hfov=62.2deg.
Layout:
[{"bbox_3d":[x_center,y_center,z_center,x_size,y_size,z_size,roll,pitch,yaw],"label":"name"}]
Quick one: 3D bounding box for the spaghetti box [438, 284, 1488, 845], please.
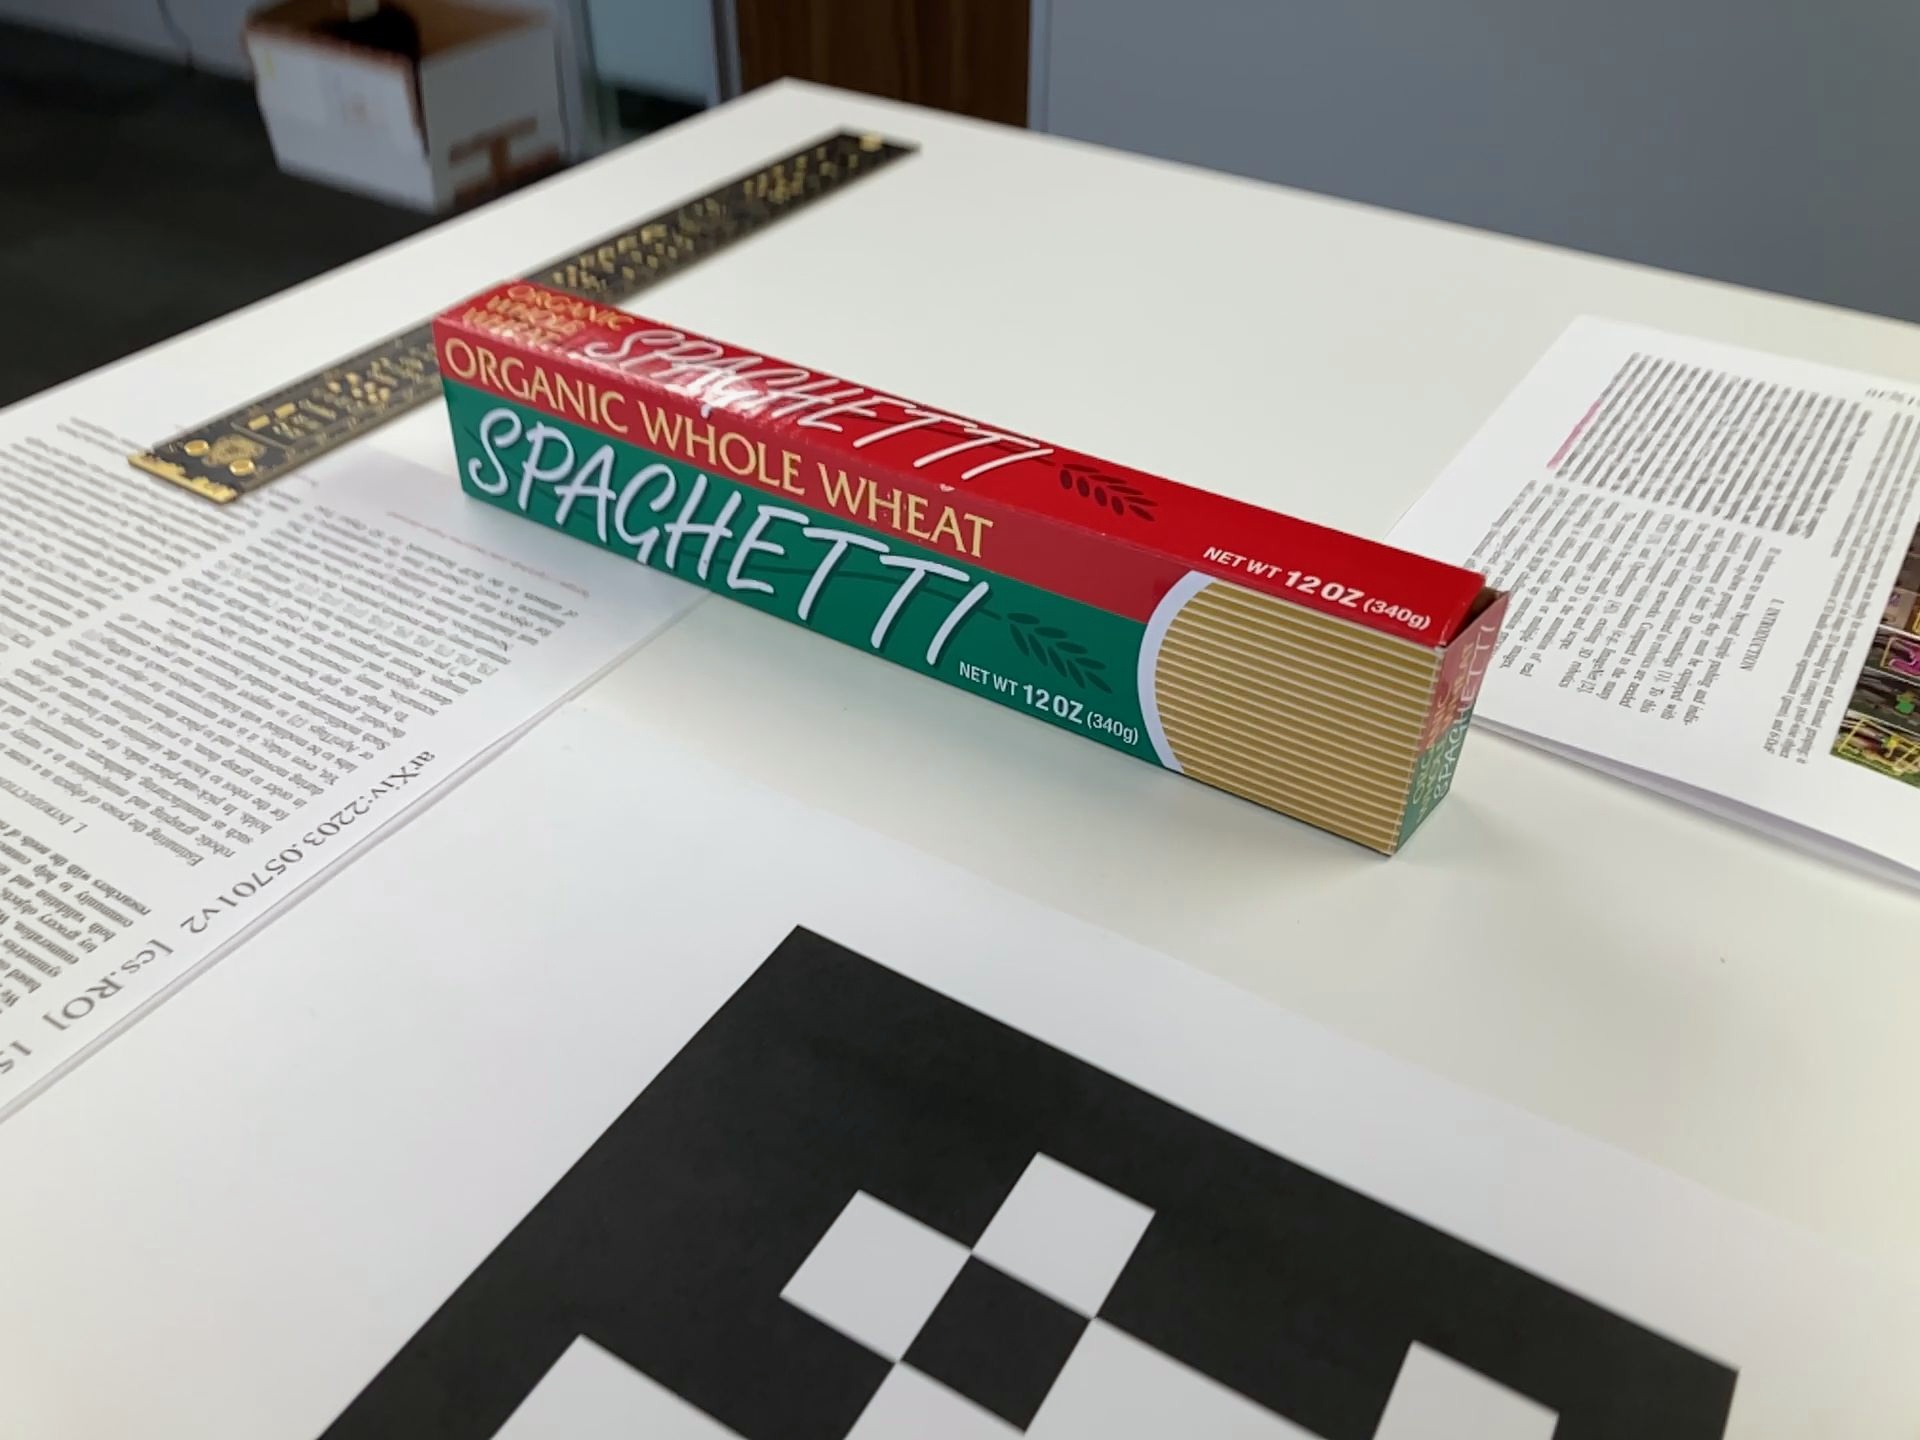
[{"bbox_3d":[-0.015,-0.042,0.350,0.250,0.050,0.028,21,41,24],"label":"spaghetti box"}]
